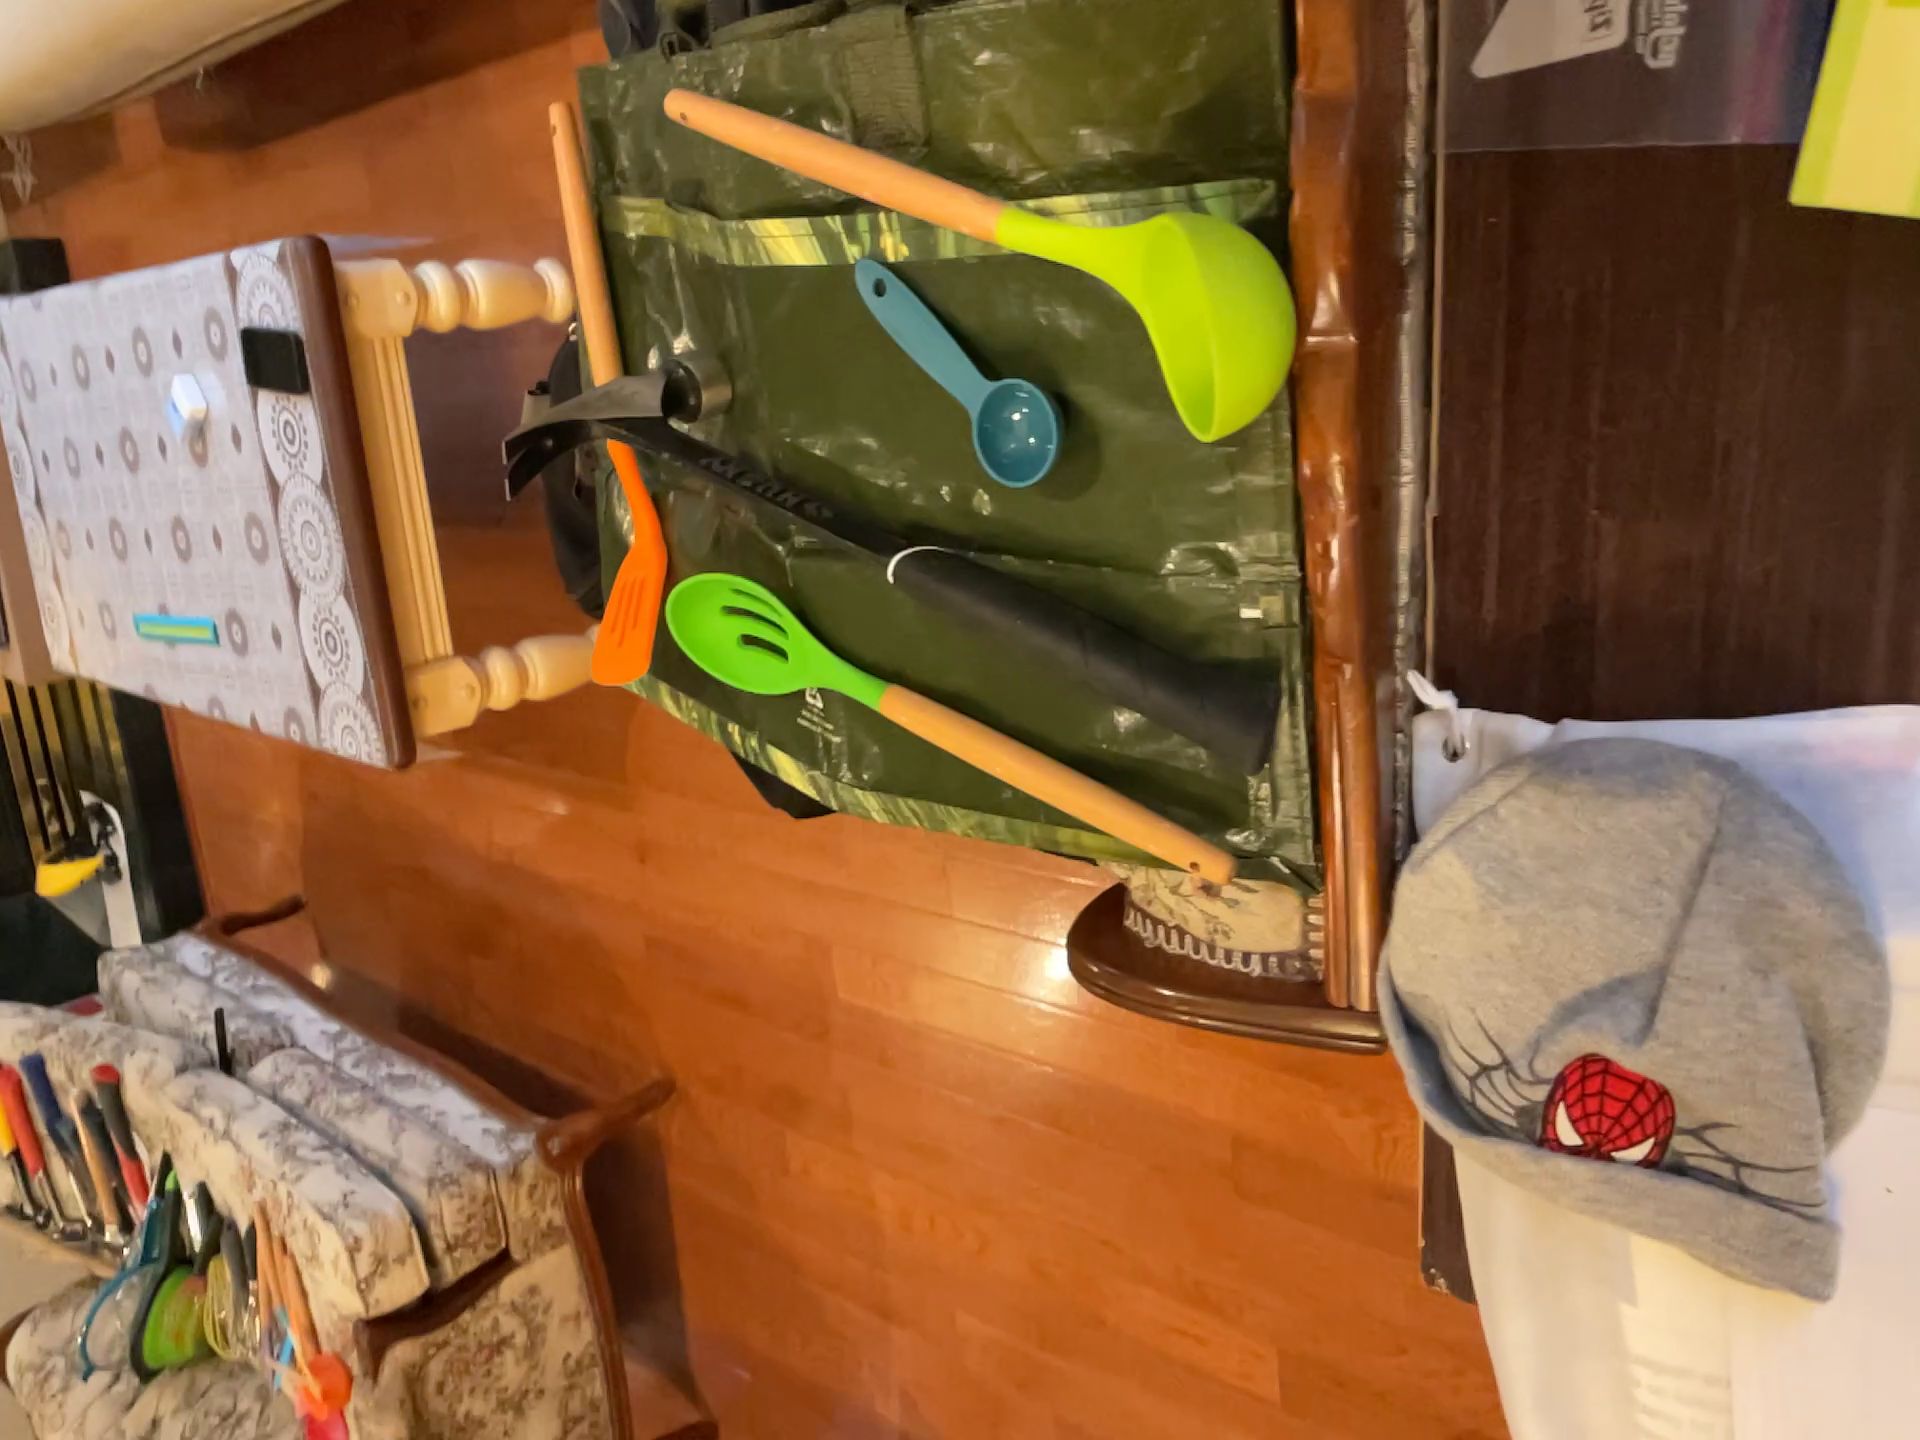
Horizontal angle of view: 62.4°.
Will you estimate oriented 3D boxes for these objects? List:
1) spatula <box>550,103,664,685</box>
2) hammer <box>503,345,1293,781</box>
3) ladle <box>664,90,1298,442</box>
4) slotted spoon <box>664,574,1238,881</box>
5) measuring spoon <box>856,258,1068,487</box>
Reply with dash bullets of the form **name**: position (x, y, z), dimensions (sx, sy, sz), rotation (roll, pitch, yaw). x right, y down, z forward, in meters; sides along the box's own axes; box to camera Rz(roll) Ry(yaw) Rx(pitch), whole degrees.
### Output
- **spatula**: position (-0.205, -0.182, 0.892), dimensions (0.081, 0.041, 0.322), rotation (-1, 99, 54)
- **hammer**: position (-0.033, -0.074, 0.705), dimensions (0.409, 0.149, 0.036), rotation (29, 131, 29)
- **ladle**: position (-0.010, -0.192, 0.613), dimensions (0.320, 0.062, 0.078), rotation (29, 148, 28)
- **slotted spoon**: position (-0.013, 0.002, 0.730), dimensions (0.314, 0.031, 0.070), rotation (26, 136, 27)
- **measuring spoon**: position (0.002, -0.146, 0.646), dimensions (0.129, 0.021, 0.042), rotation (50, 131, 20)
